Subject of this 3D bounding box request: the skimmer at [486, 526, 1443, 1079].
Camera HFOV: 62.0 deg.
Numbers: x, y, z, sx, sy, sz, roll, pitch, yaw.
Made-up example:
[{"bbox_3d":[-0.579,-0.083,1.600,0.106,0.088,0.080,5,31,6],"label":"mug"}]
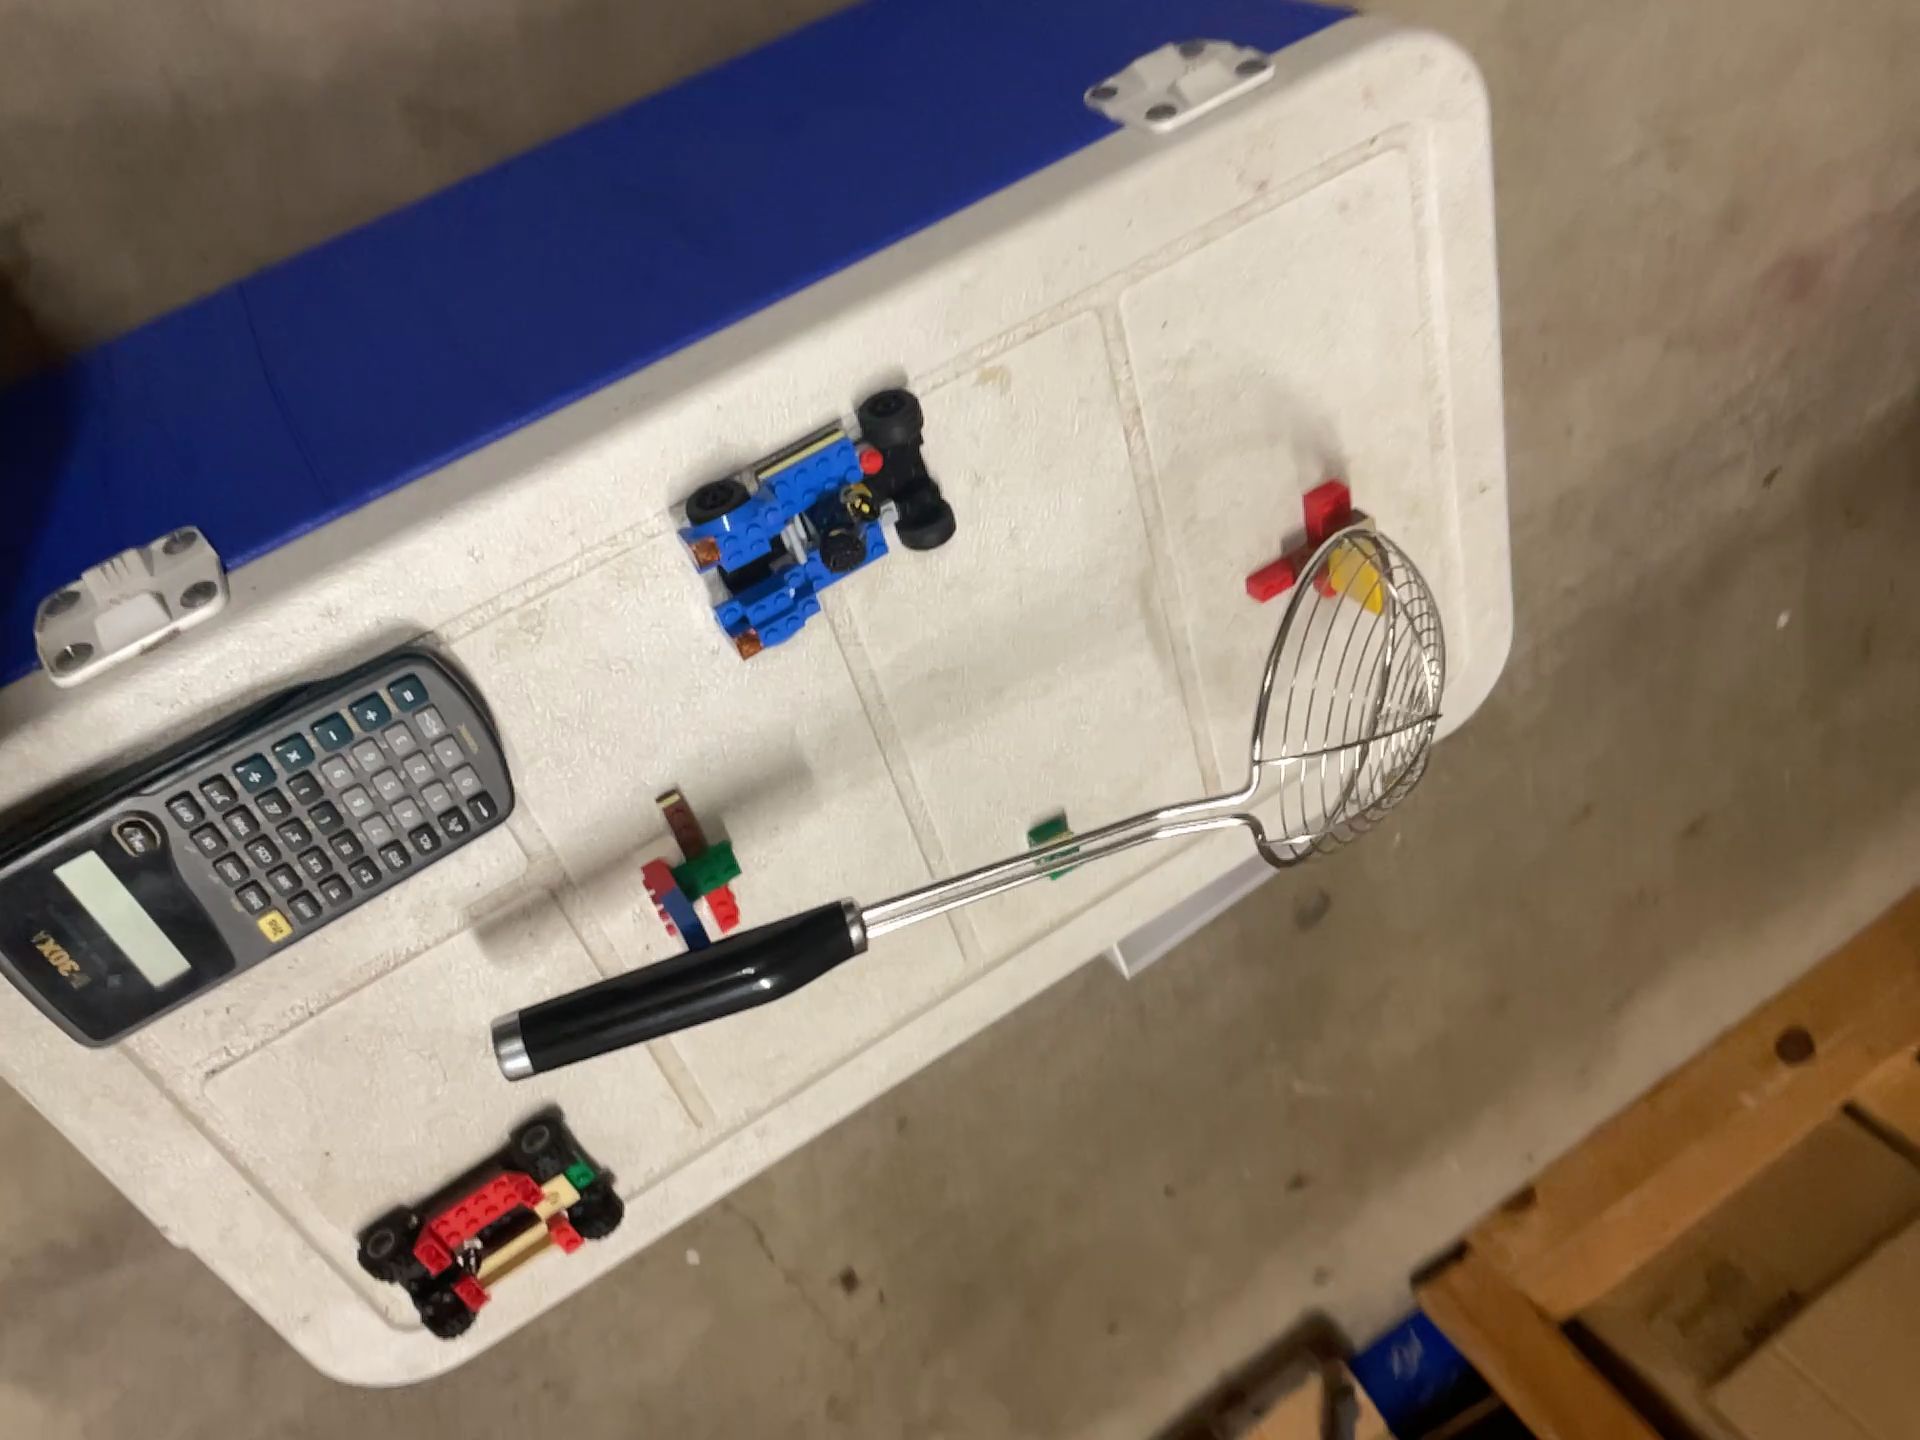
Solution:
[{"bbox_3d":[0.012,0.034,0.566,0.363,0.090,0.127,-18,128,-8],"label":"skimmer"}]
